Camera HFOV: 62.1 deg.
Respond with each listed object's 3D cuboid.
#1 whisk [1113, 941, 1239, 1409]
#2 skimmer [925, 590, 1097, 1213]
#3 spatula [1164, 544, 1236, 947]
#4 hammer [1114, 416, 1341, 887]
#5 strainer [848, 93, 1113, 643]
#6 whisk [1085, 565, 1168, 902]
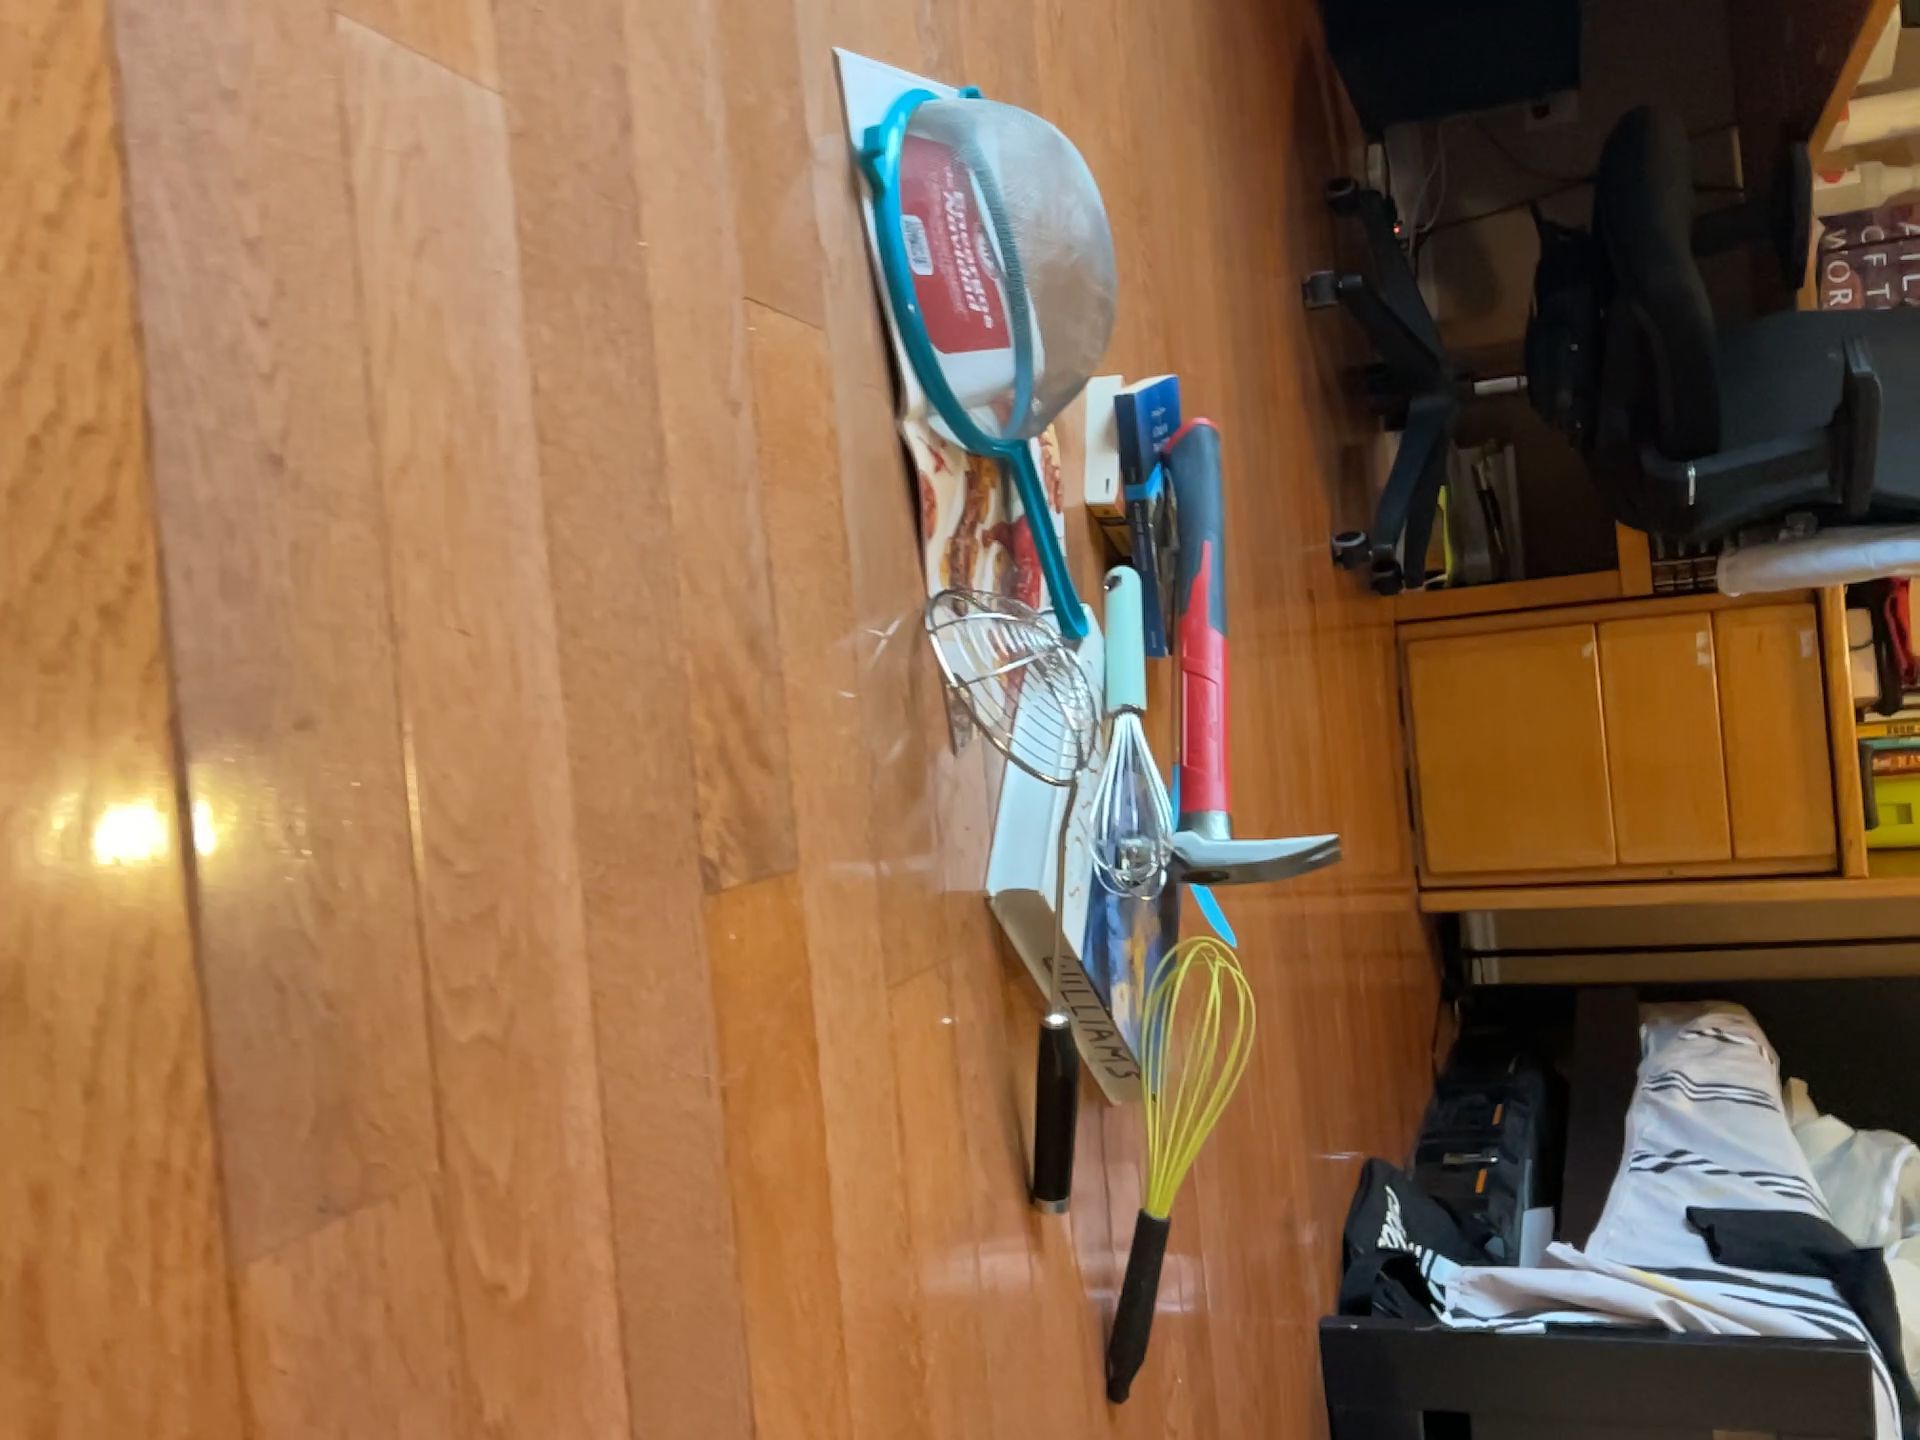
[{"bbox_3d":[0.132,0.298,1.046,0.080,0.067,0.312,13,87,-84],"label":"whisk"},{"bbox_3d":[0.027,0.108,0.906,0.127,0.090,0.363,-39,132,-68],"label":"skimmer"},{"bbox_3d":[0.176,0.009,1.189,0.082,0.044,0.318,42,46,-58],"label":"spatula"},{"bbox_3d":[0.185,-0.063,1.123,0.038,0.143,0.387,61,28,-53],"label":"hammer"},{"bbox_3d":[0.054,-0.207,0.935,0.340,0.095,0.211,69,25,-20],"label":"strainer"},{"bbox_3d":[0.106,0.003,1.021,0.059,0.057,0.247,23,53,-31],"label":"whisk"}]
